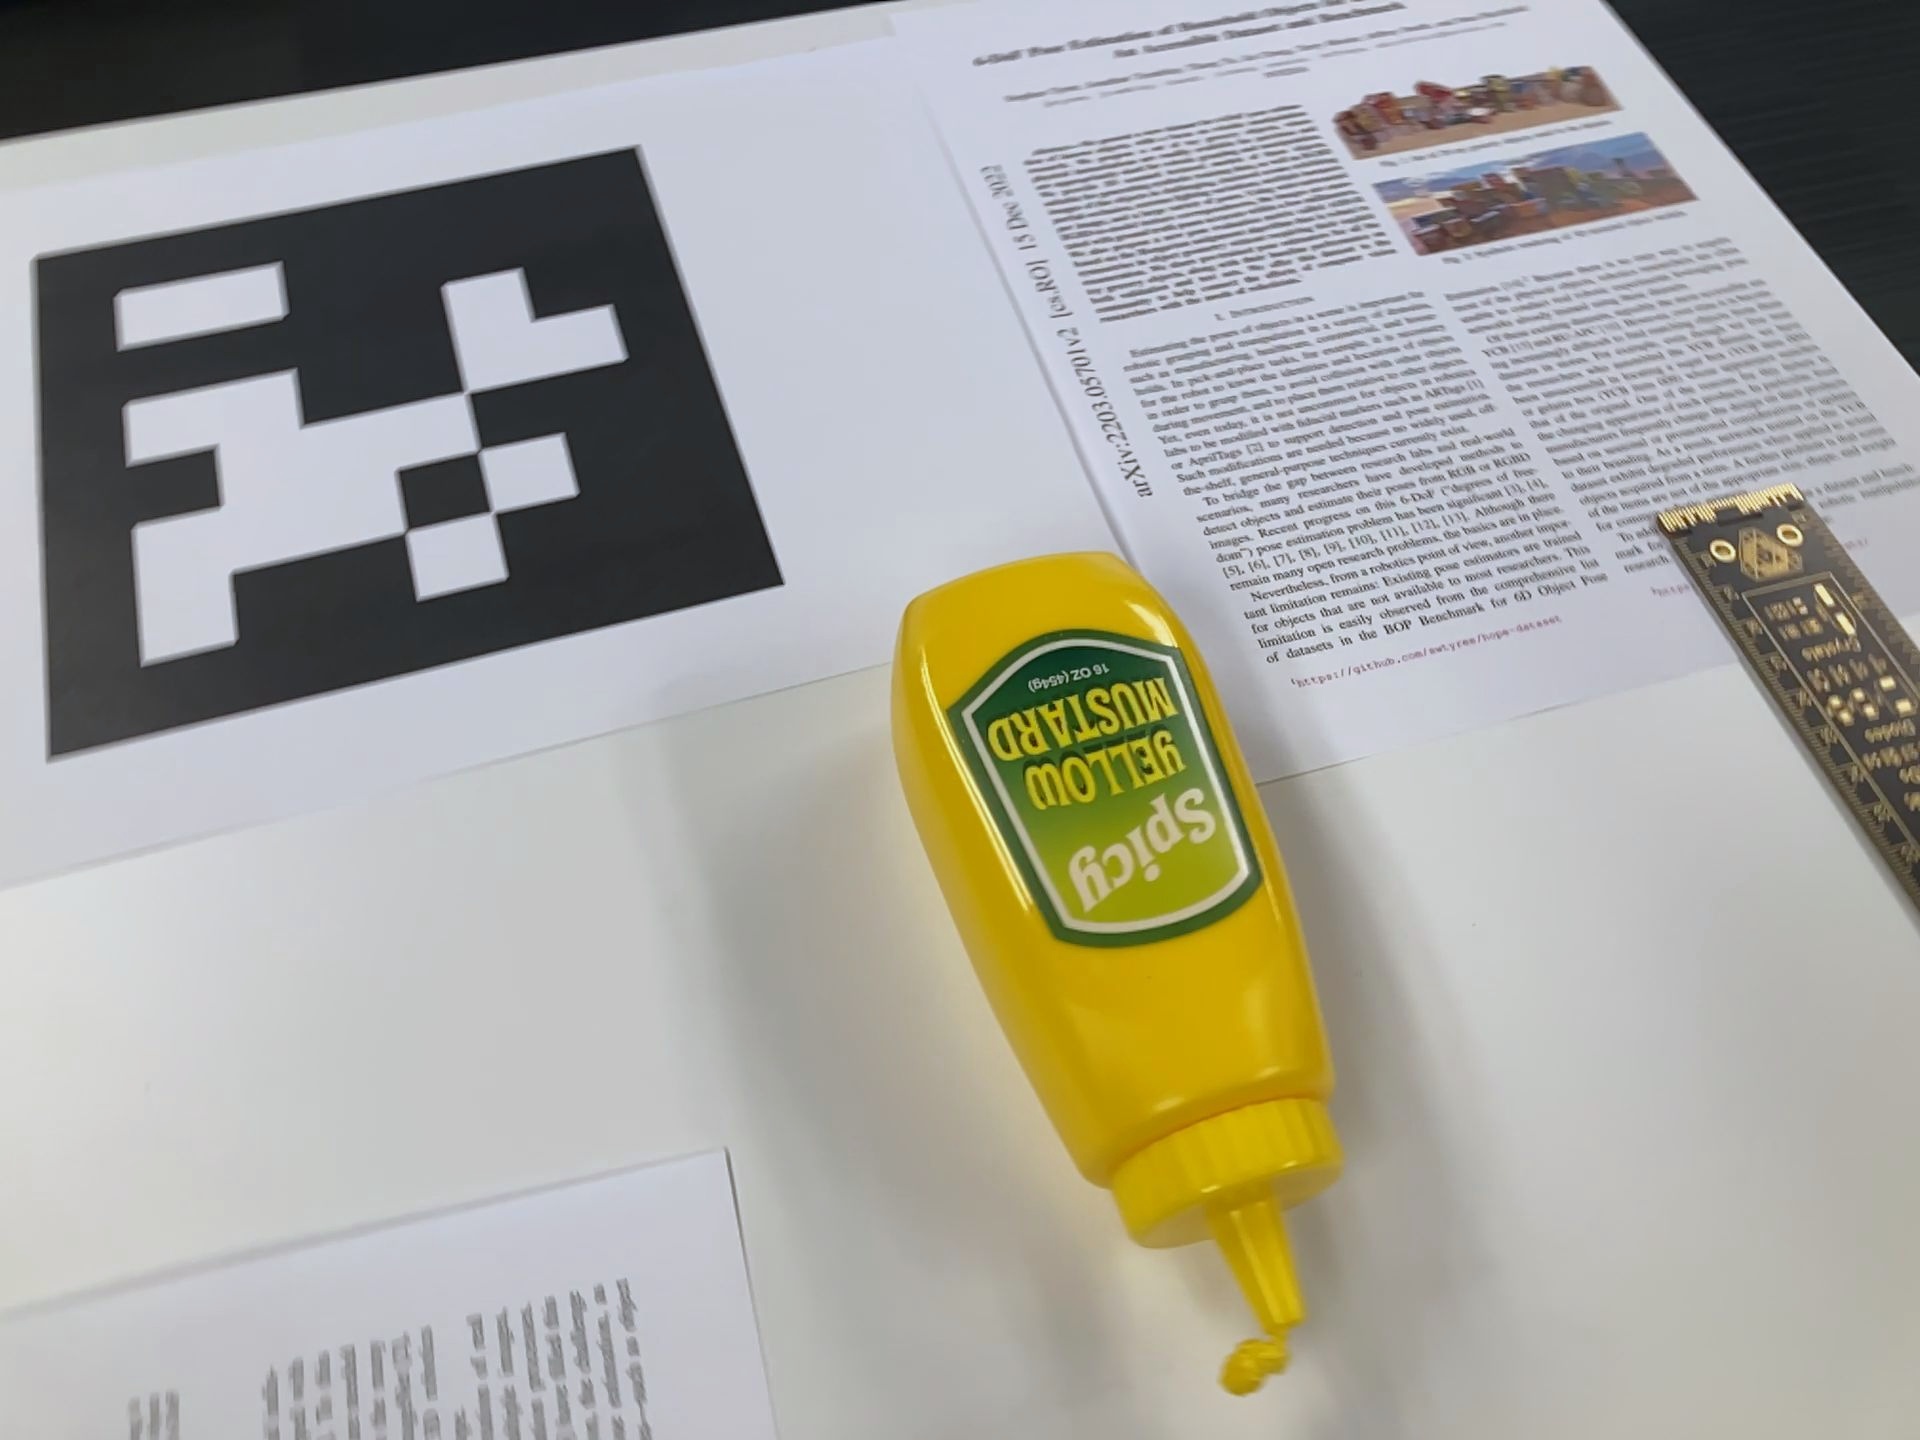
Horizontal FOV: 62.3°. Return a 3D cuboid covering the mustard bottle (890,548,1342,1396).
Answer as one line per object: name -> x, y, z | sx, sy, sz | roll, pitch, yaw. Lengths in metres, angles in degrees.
mustard bottle -> 0.034, 0.041, 0.295 | 0.065, 0.049, 0.160 | -15, 60, -10
